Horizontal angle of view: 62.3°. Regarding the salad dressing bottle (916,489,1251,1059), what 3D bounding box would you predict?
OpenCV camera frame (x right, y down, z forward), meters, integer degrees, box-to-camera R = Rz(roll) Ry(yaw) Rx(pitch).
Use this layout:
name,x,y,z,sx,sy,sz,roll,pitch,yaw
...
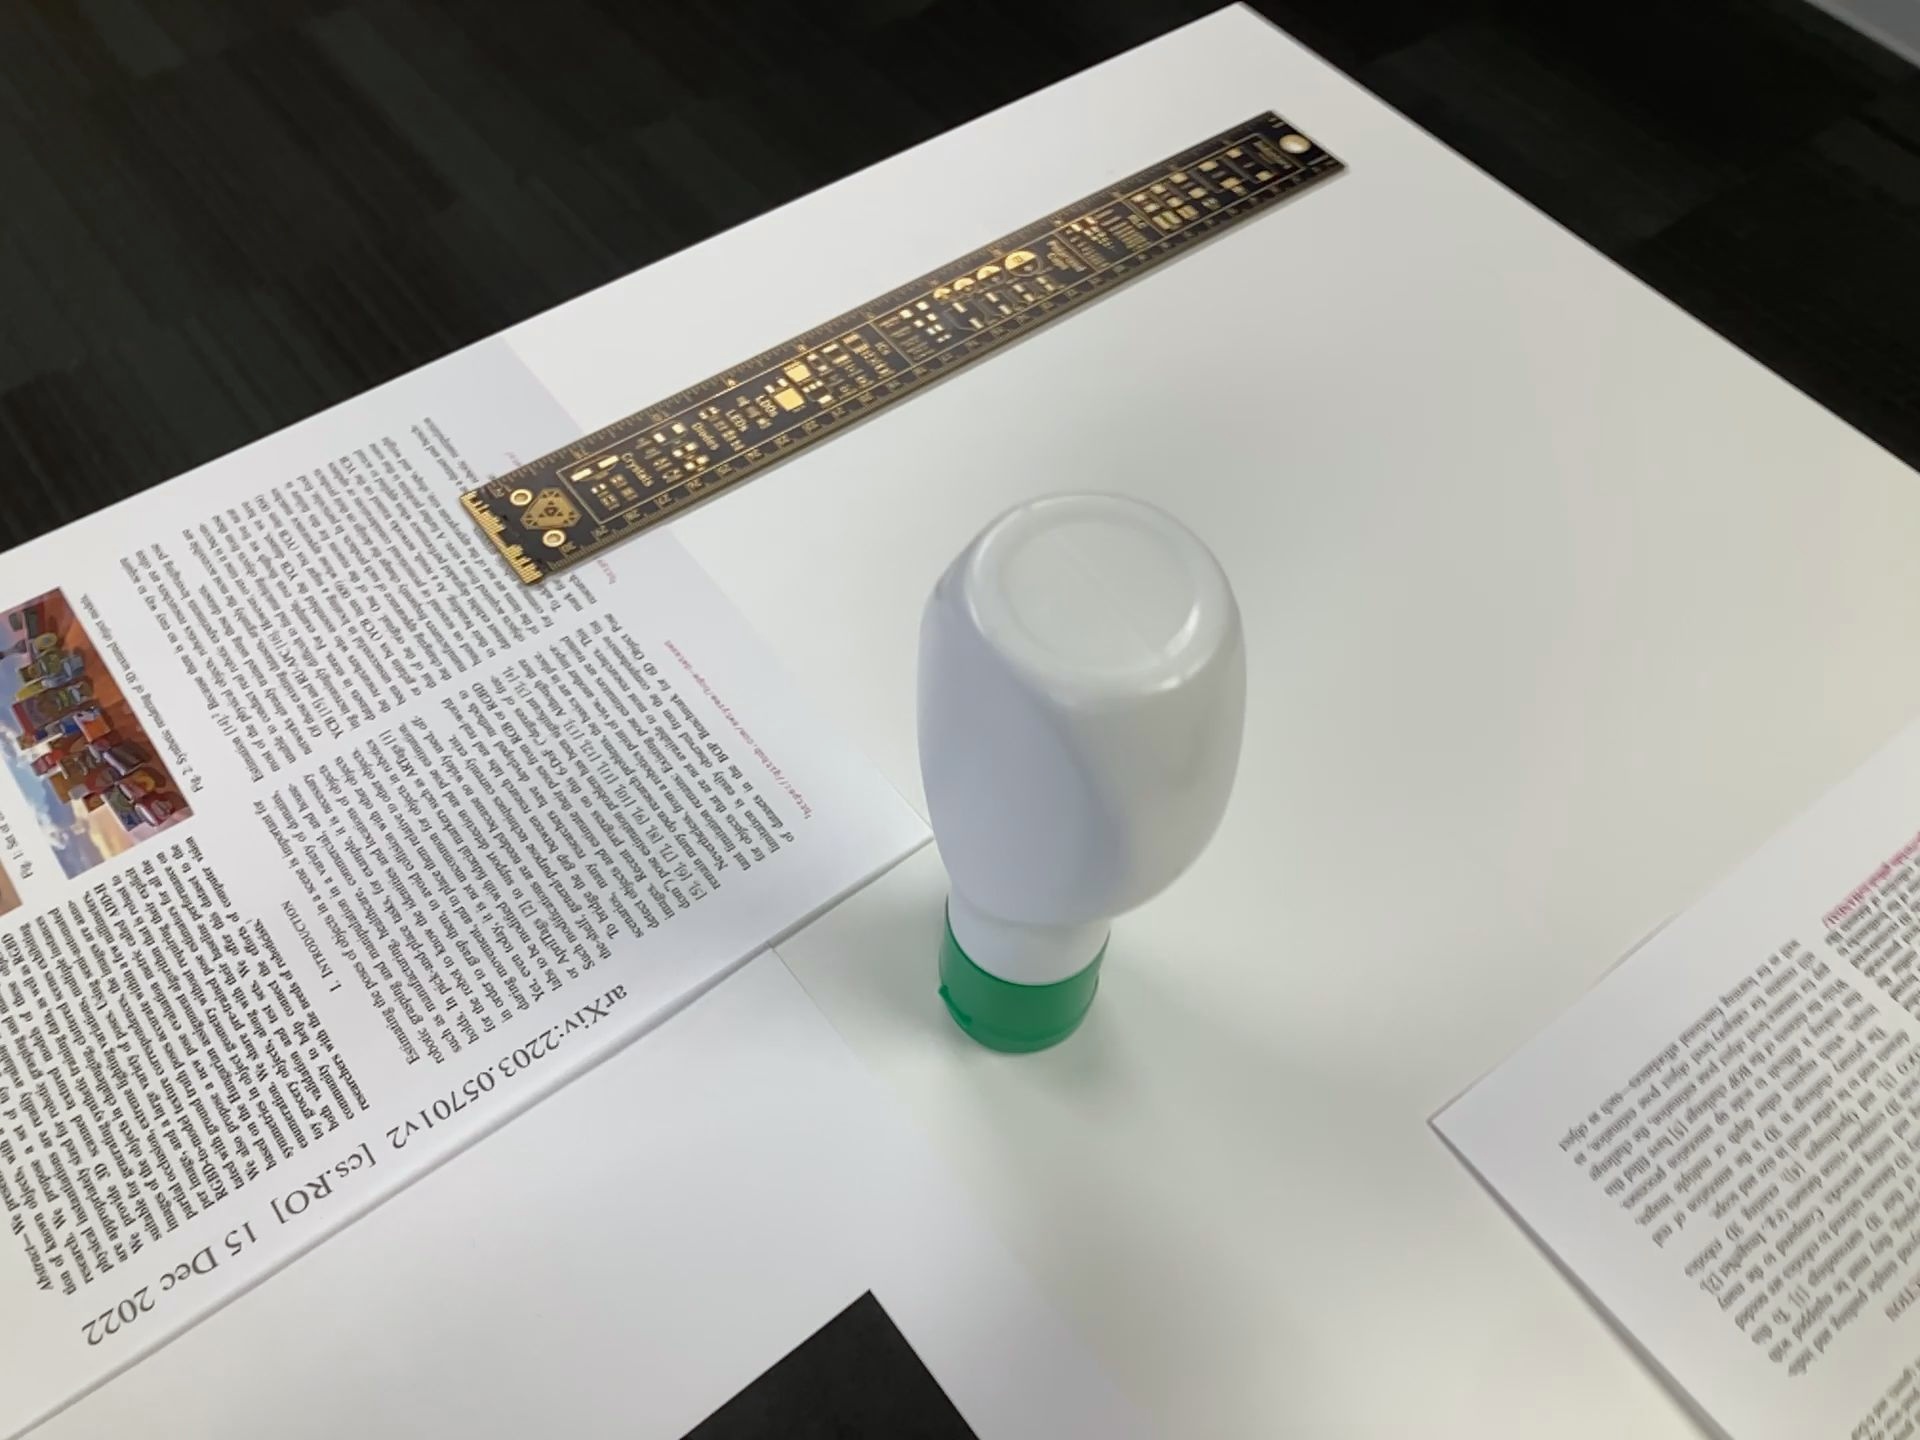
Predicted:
name,x,y,z,sx,sy,sz,roll,pitch,yaw
salad dressing bottle,0.017,0.021,0.309,0.044,0.147,0.064,-29,63,-22
